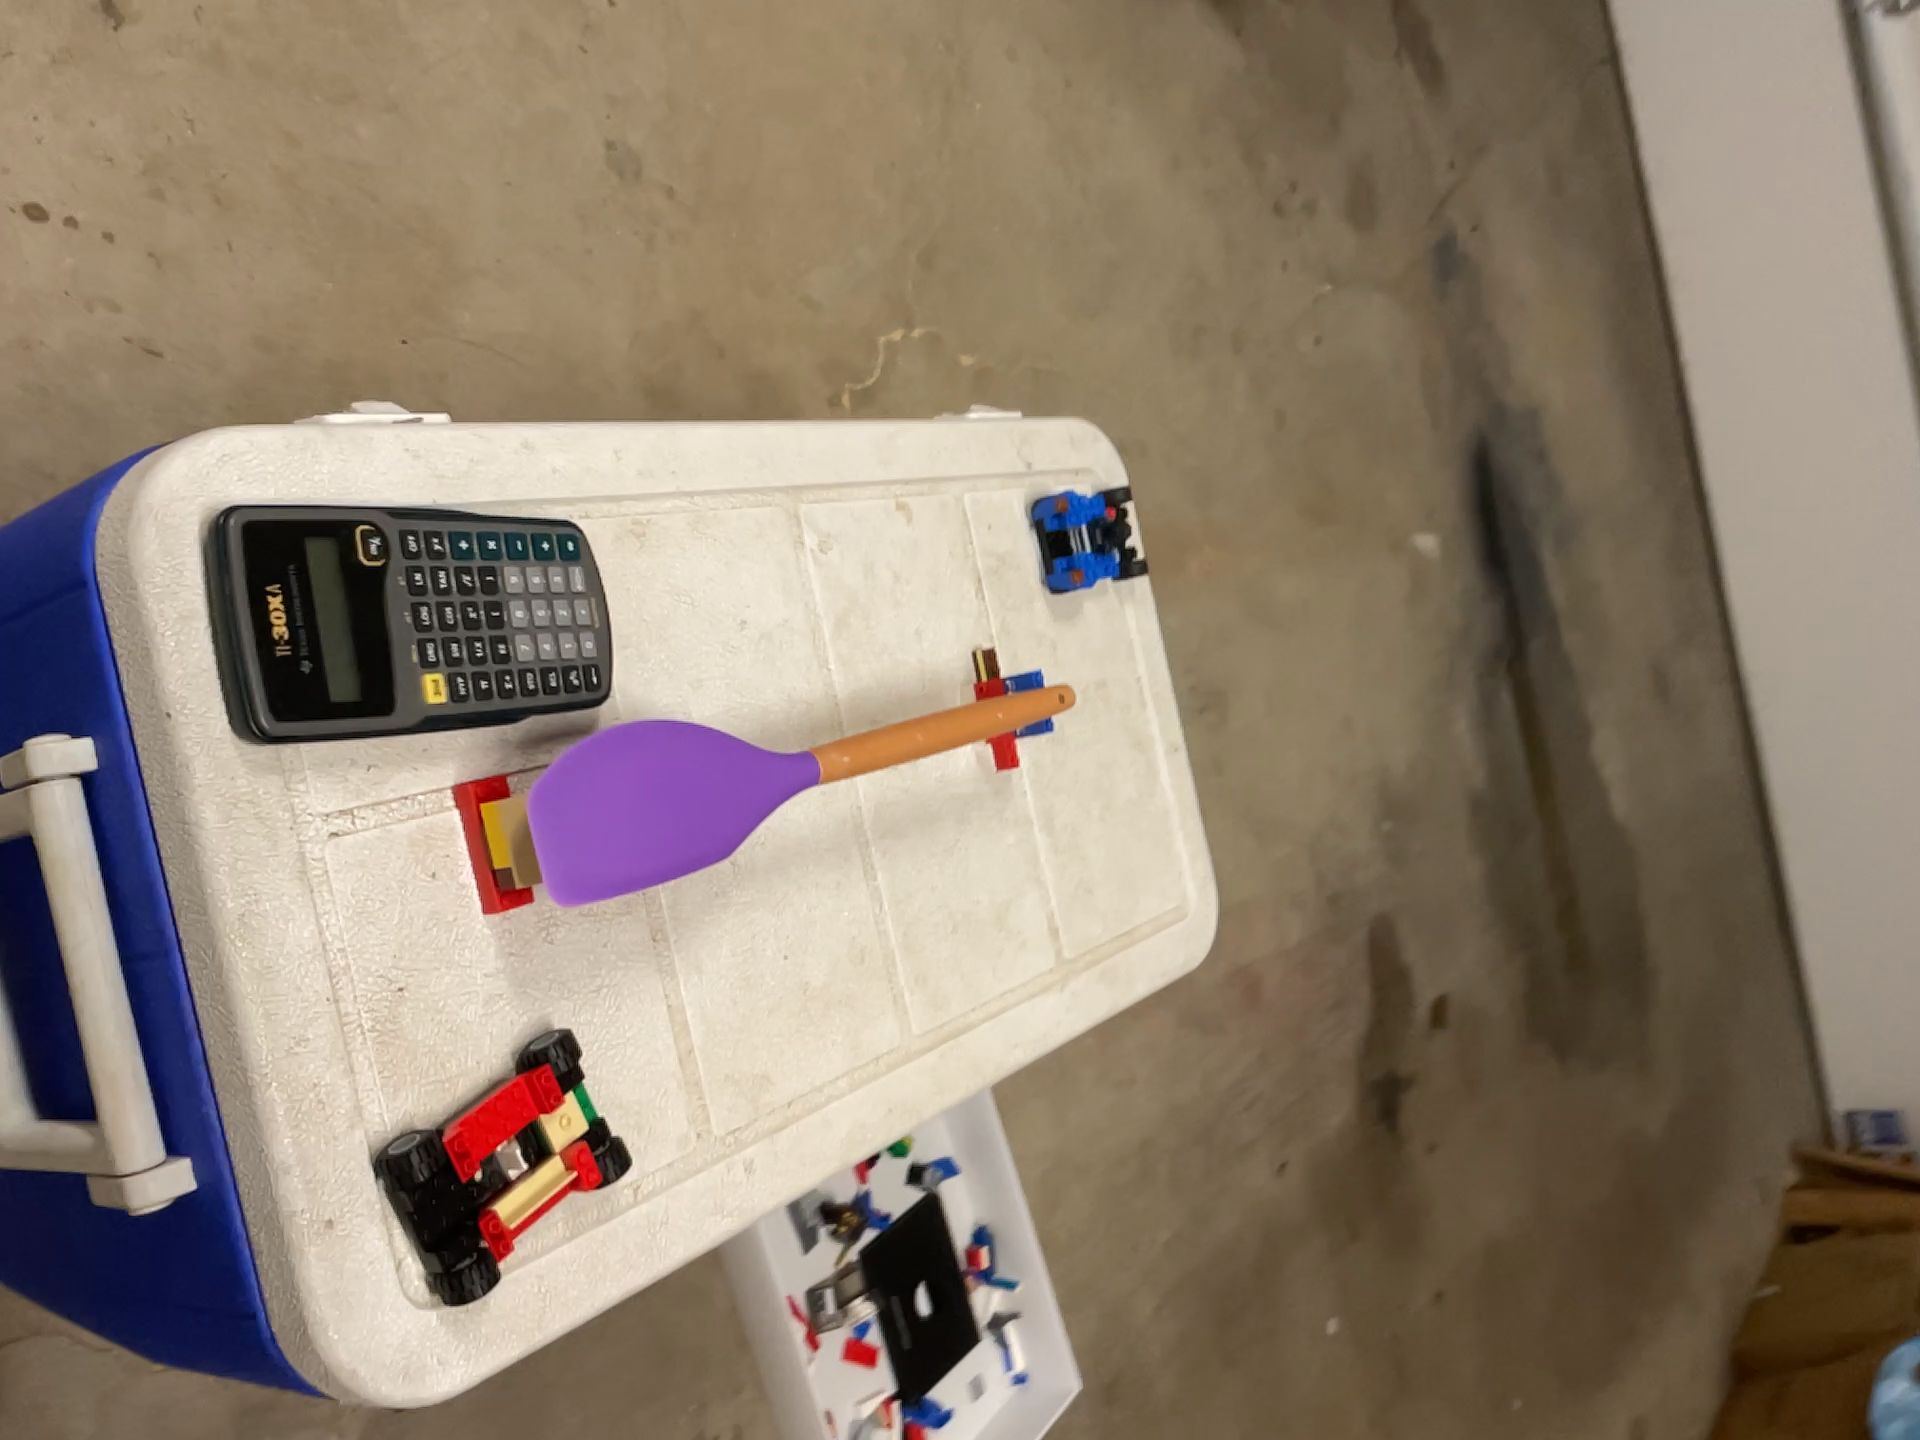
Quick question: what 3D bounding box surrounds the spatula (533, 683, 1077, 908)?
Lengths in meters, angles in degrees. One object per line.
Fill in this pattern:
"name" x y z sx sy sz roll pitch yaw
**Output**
"spatula" -0.045 0.013 0.665 0.316 0.018 0.060 -15 93 -50
